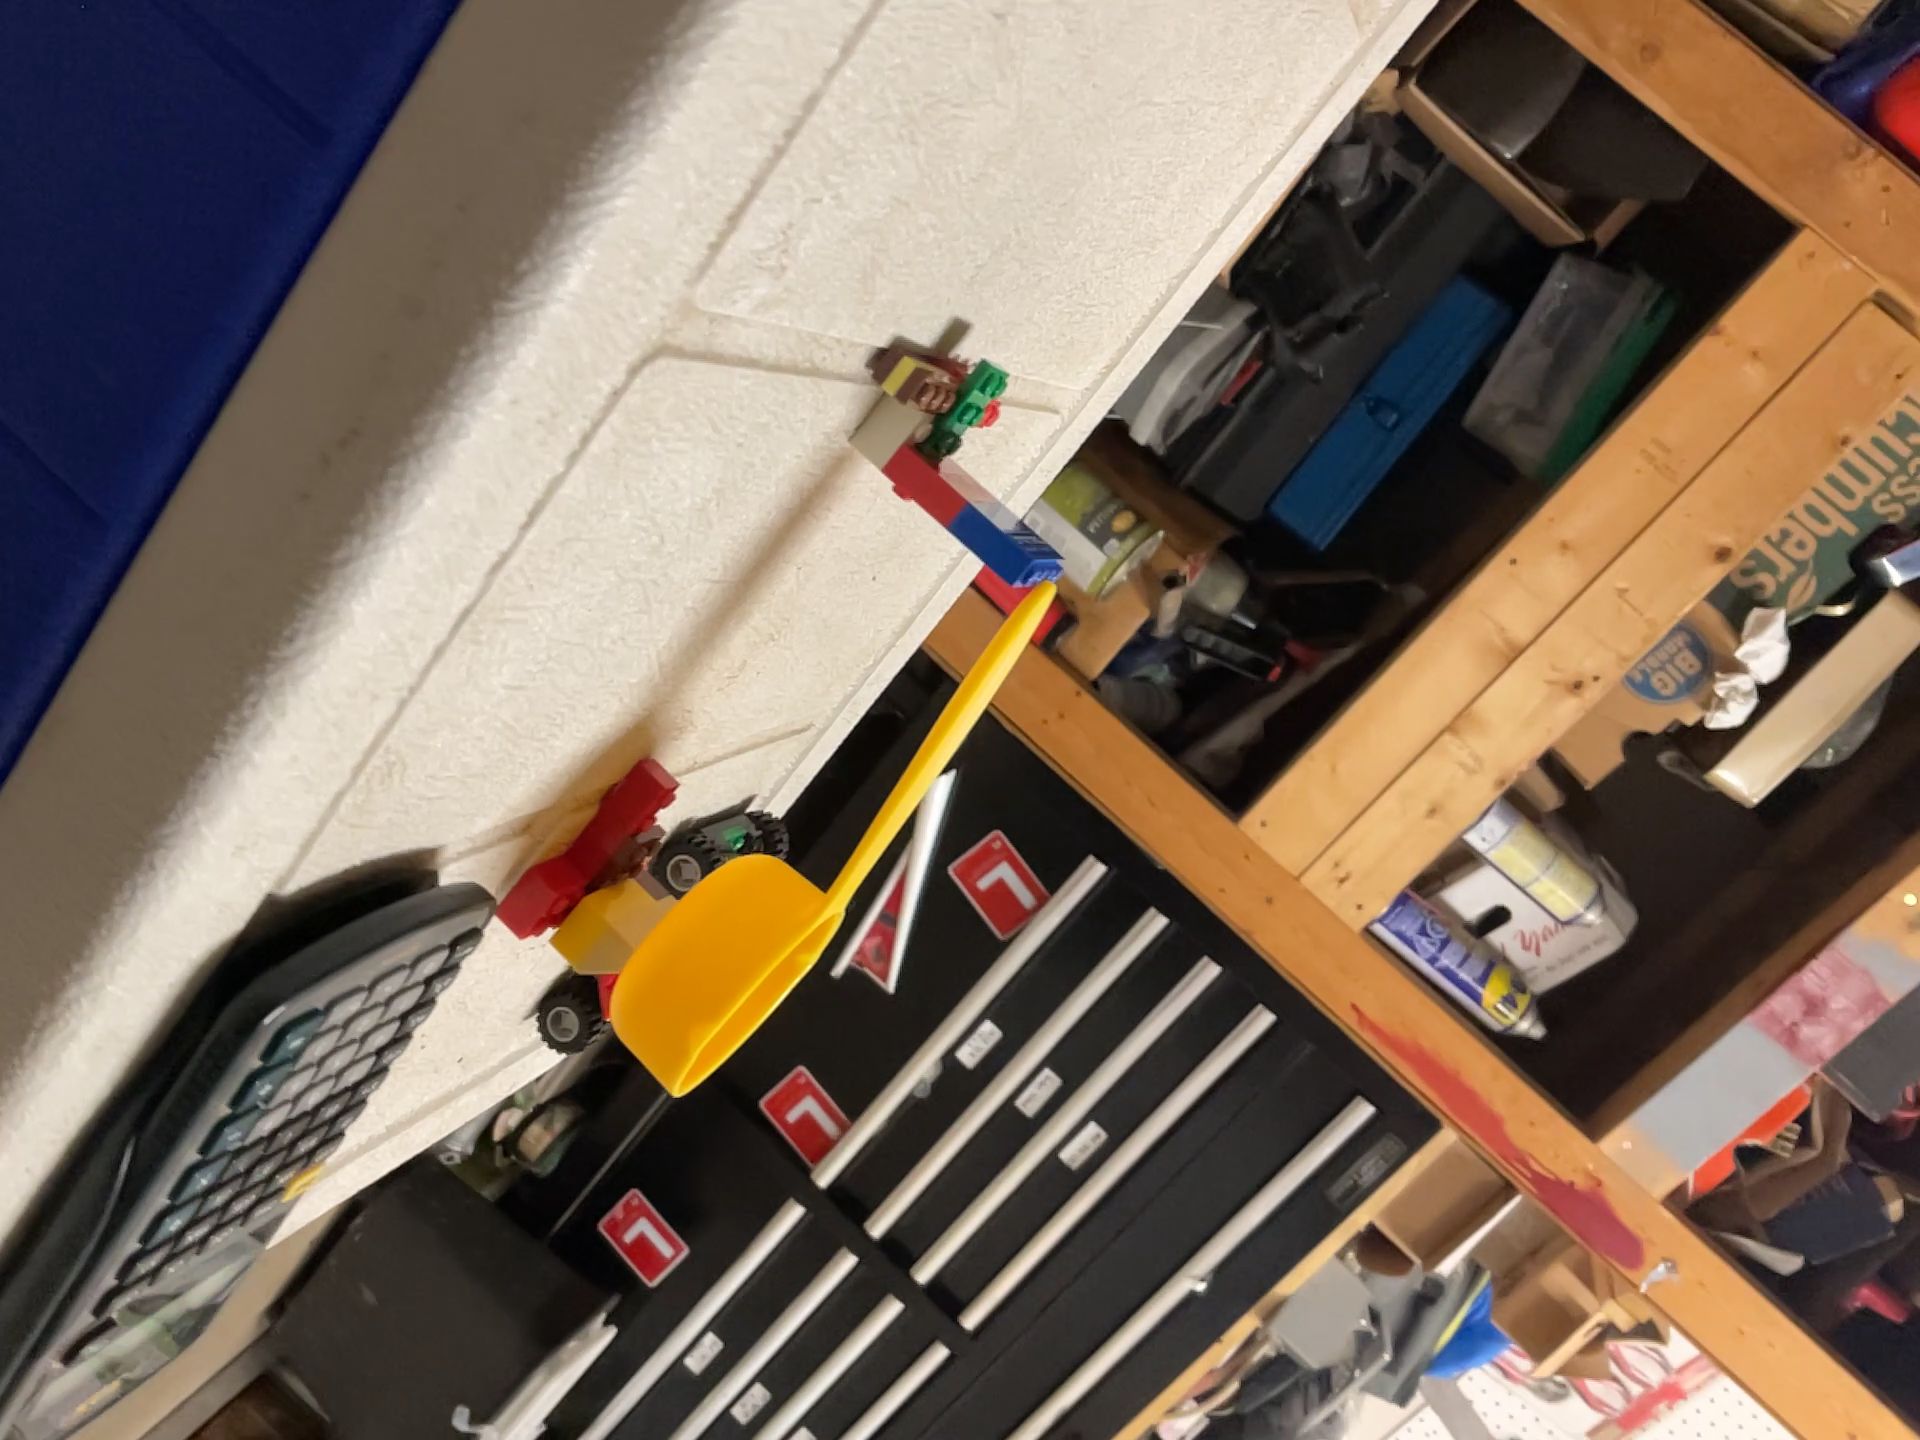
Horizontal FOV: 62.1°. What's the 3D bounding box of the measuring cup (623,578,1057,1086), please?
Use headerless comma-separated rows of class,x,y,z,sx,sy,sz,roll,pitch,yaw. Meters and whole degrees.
measuring cup,-0.031,0.022,0.383,0.156,0.029,0.062,-54,171,18
